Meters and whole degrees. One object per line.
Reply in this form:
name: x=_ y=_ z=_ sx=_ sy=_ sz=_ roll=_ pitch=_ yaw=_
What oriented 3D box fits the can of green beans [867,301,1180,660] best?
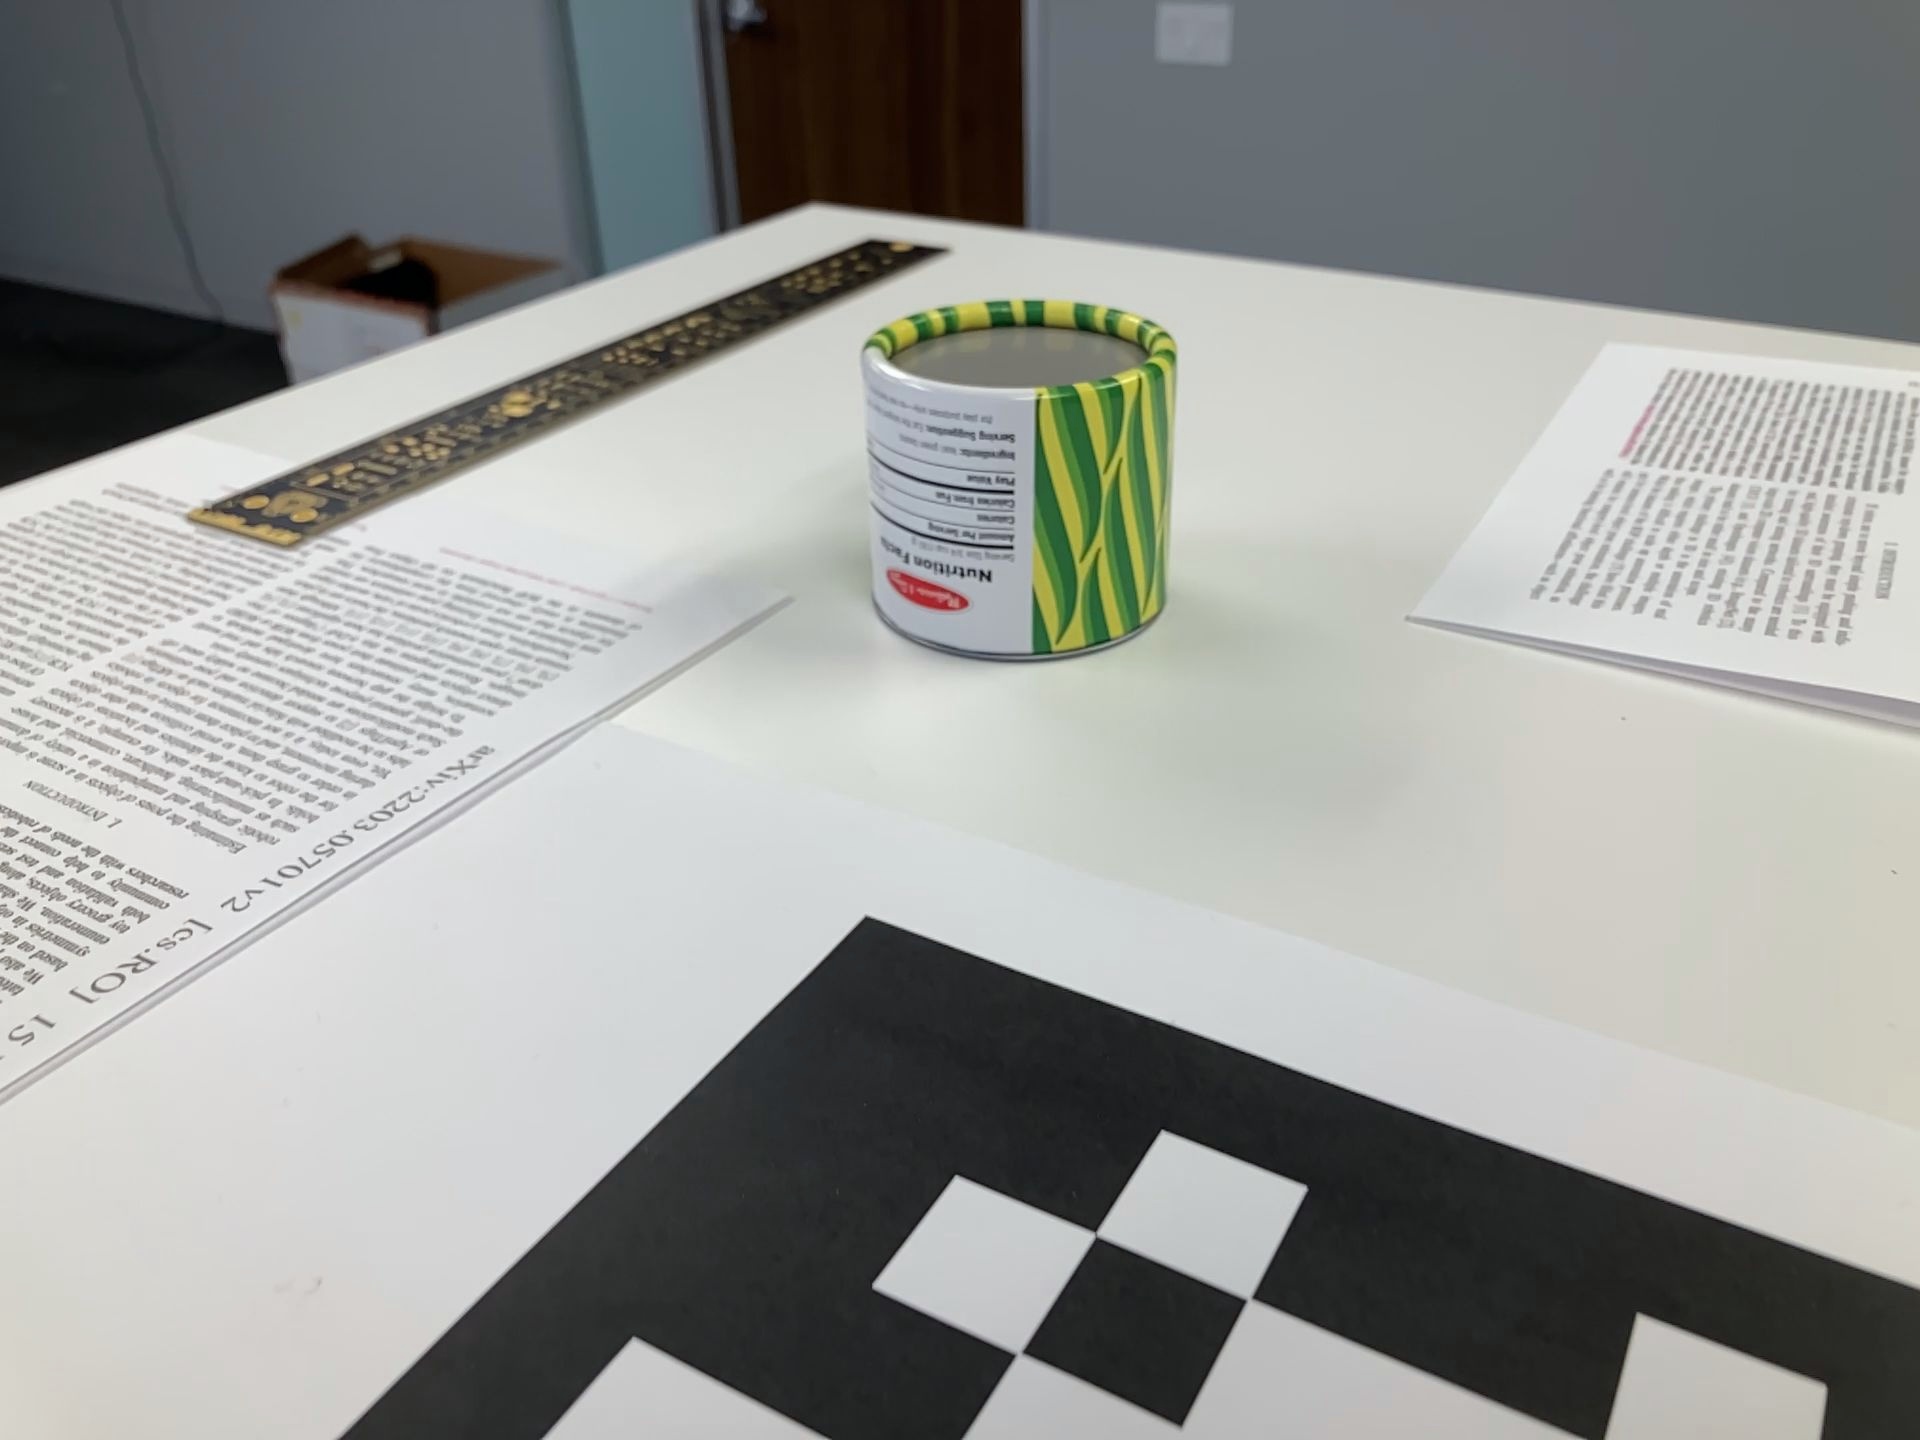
can of green beans: x=0.014 y=-0.054 z=0.347 sx=0.071 sy=0.058 sz=0.071 roll=-1 pitch=30 yaw=1
